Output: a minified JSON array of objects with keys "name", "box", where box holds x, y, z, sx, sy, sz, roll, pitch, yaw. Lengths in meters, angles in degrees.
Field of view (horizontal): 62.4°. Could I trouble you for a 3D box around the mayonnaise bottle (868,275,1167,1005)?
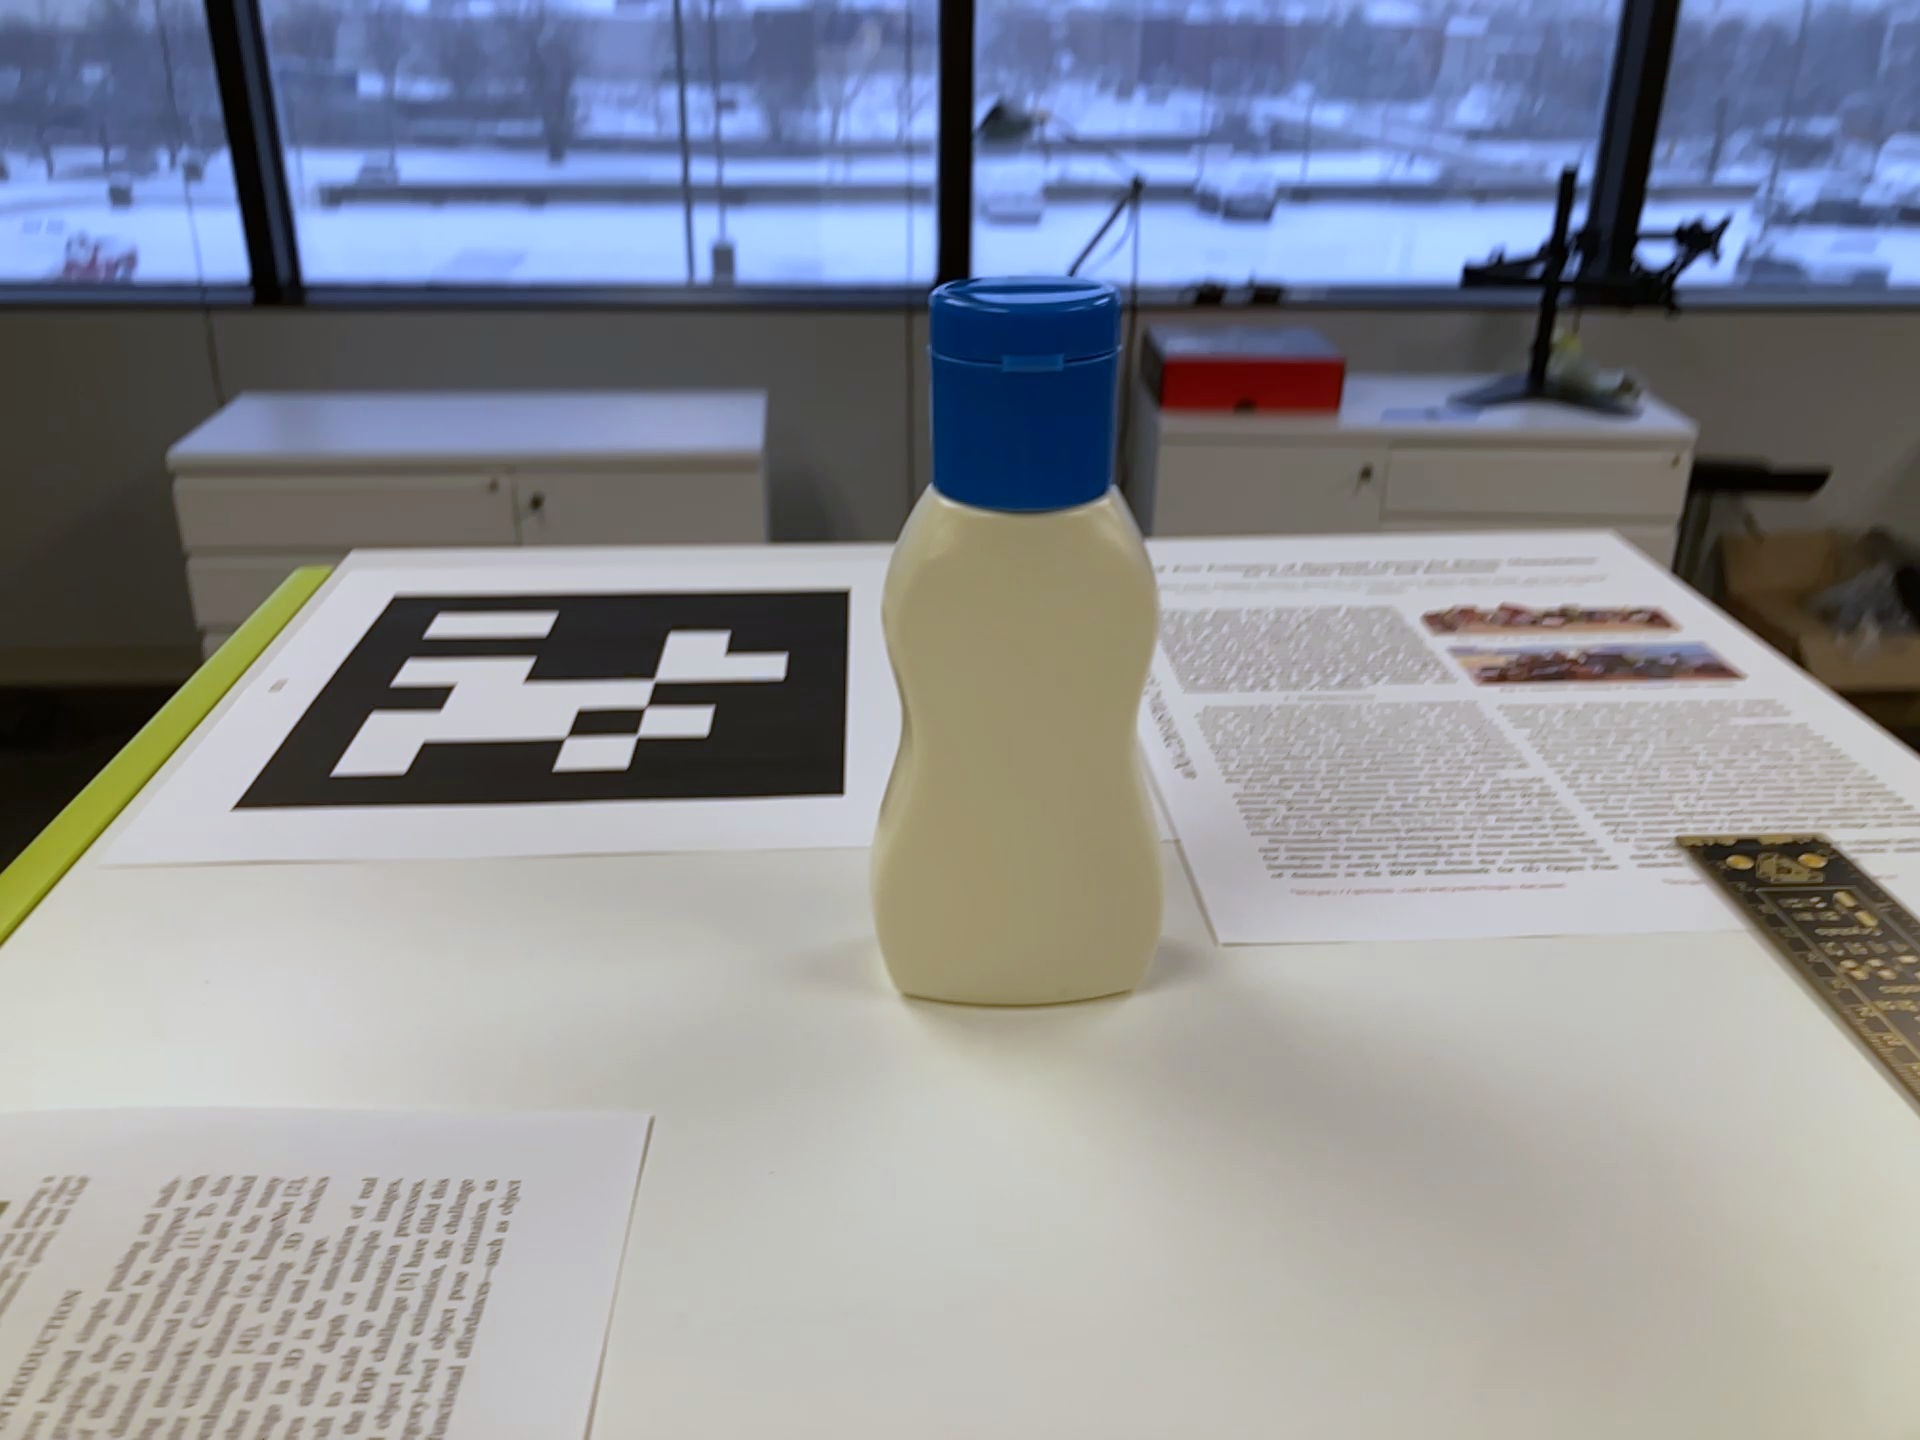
[{"name":"mayonnaise bottle","box":[0.013,-0.013,0.325,0.065,0.148,0.041,-1,24,-3]}]
